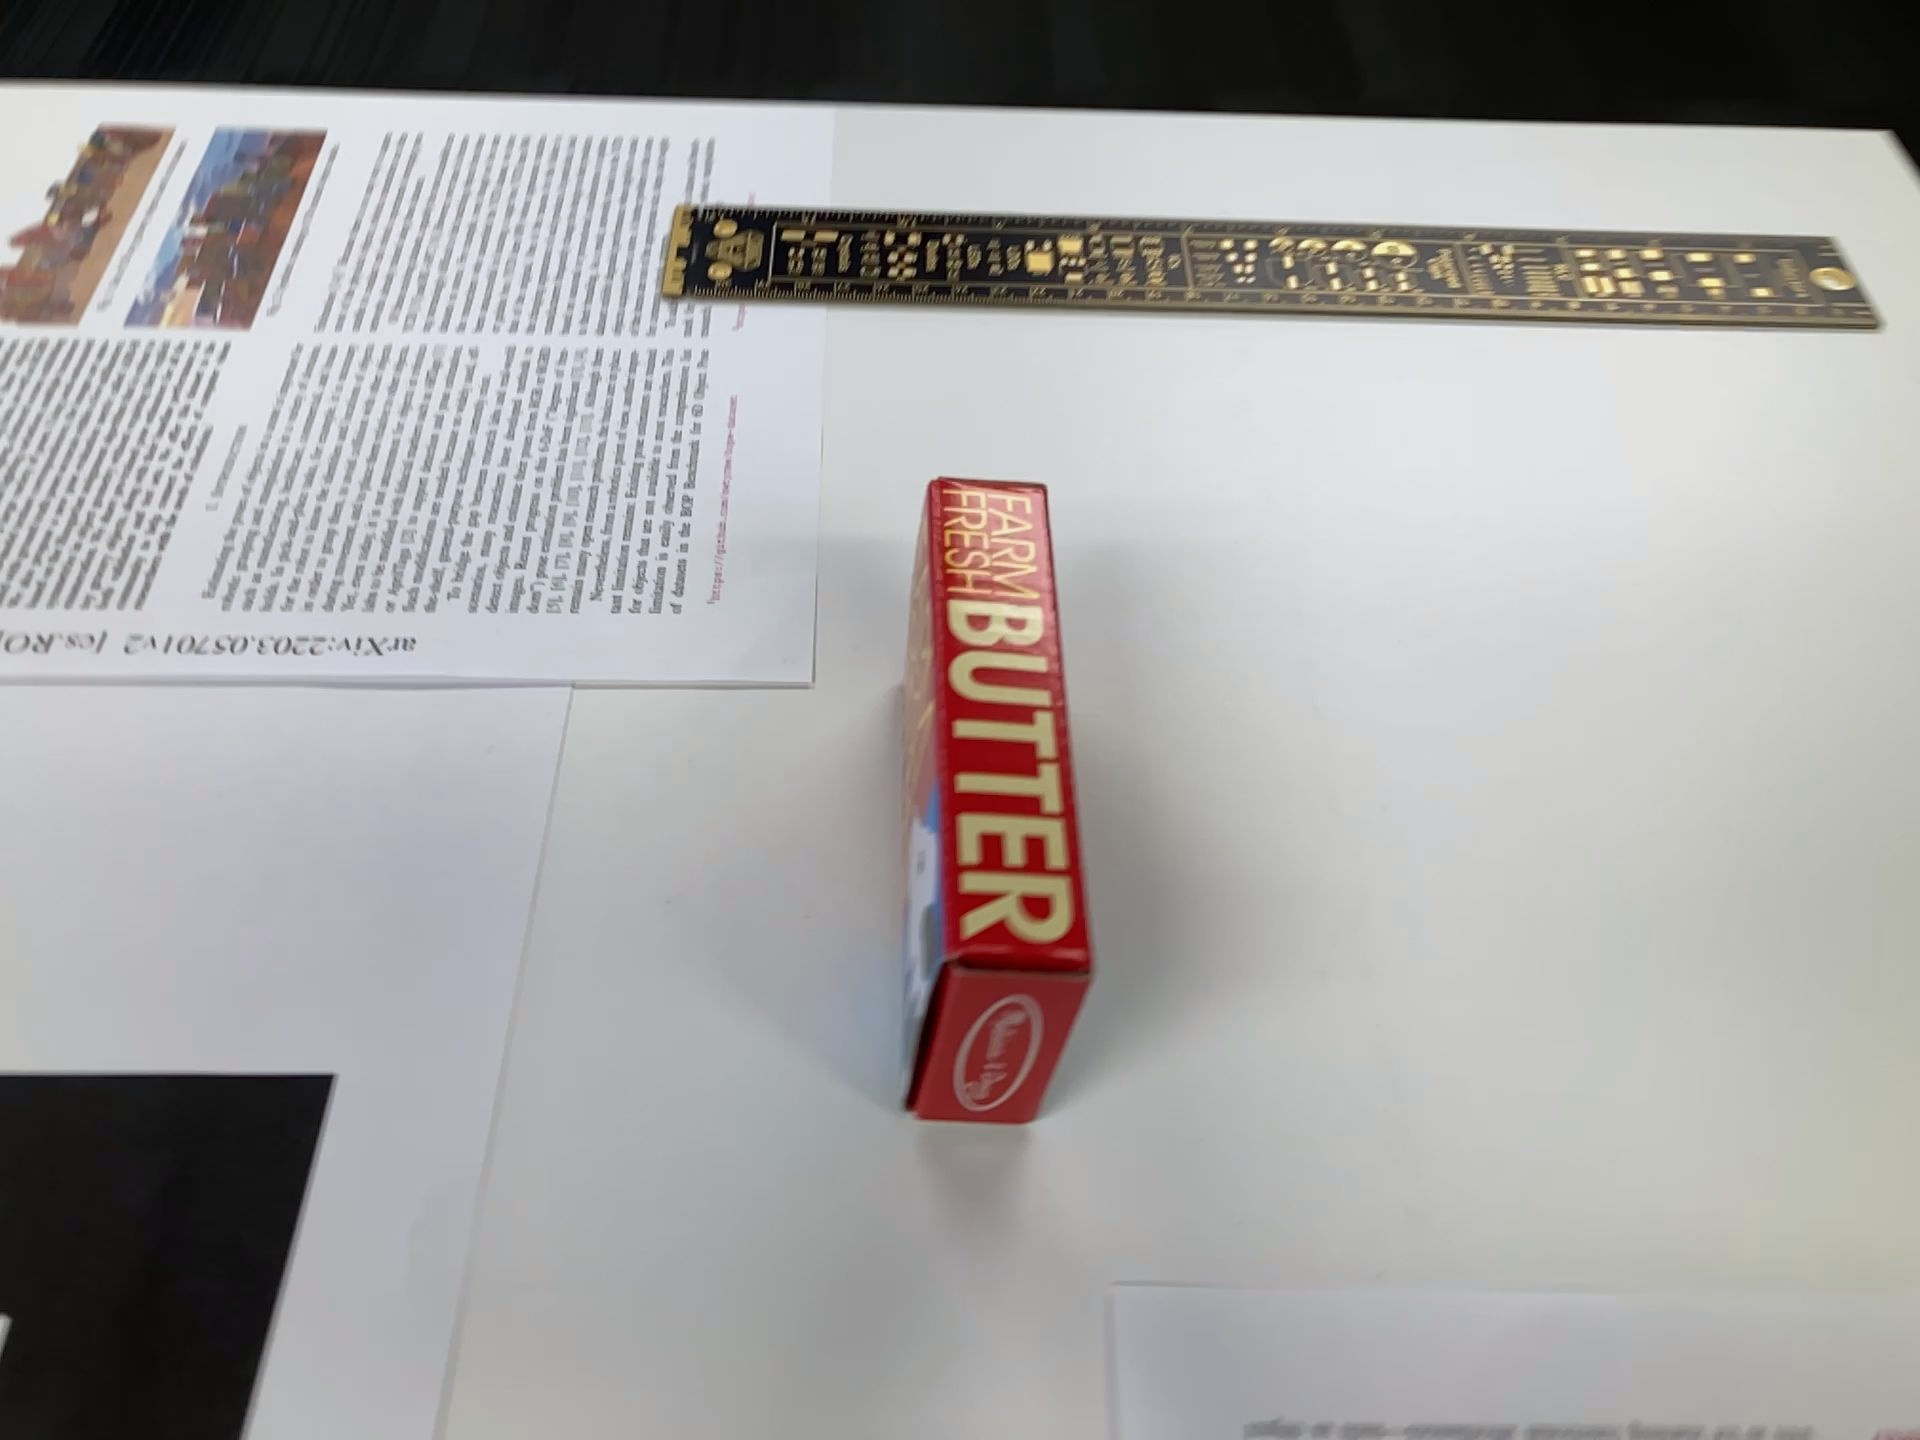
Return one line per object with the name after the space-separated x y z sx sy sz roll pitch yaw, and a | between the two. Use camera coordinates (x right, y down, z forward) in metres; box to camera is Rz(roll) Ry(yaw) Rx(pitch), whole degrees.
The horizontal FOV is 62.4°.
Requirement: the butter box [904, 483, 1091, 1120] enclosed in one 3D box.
0.004 0.012 0.282 0.024 0.053 0.103 4 52 -6 | butter box
